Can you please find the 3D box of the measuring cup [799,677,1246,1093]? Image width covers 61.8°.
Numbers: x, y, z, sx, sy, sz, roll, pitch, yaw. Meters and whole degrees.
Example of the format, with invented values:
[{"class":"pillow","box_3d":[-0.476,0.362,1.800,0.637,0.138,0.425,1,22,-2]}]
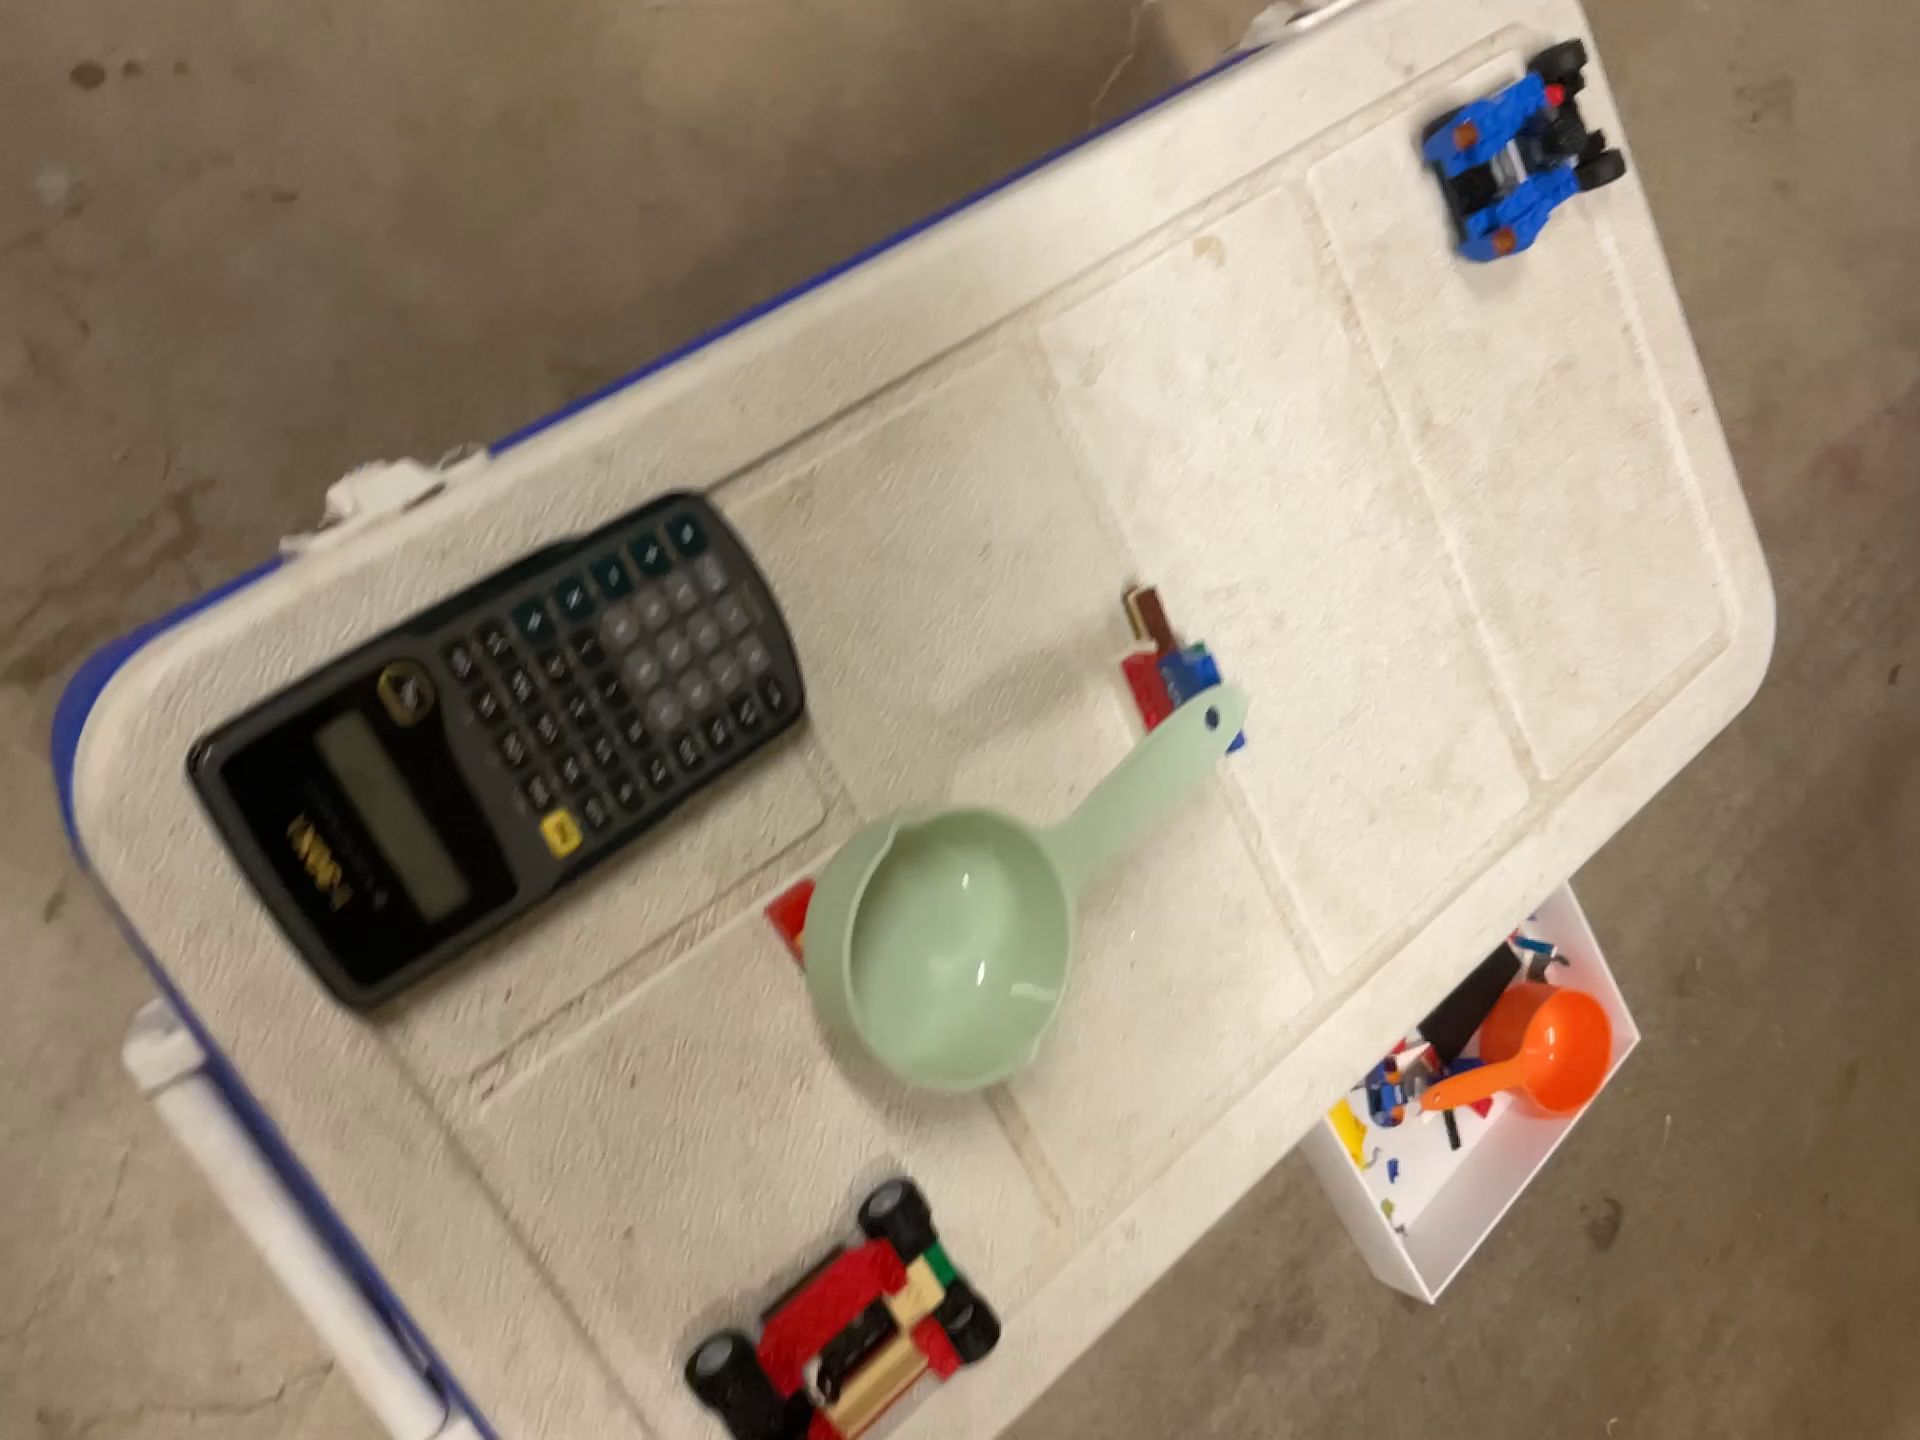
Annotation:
[{"class":"measuring cup","box_3d":[0.022,0.036,0.464,0.168,0.038,0.083,-39,110,-30]}]
